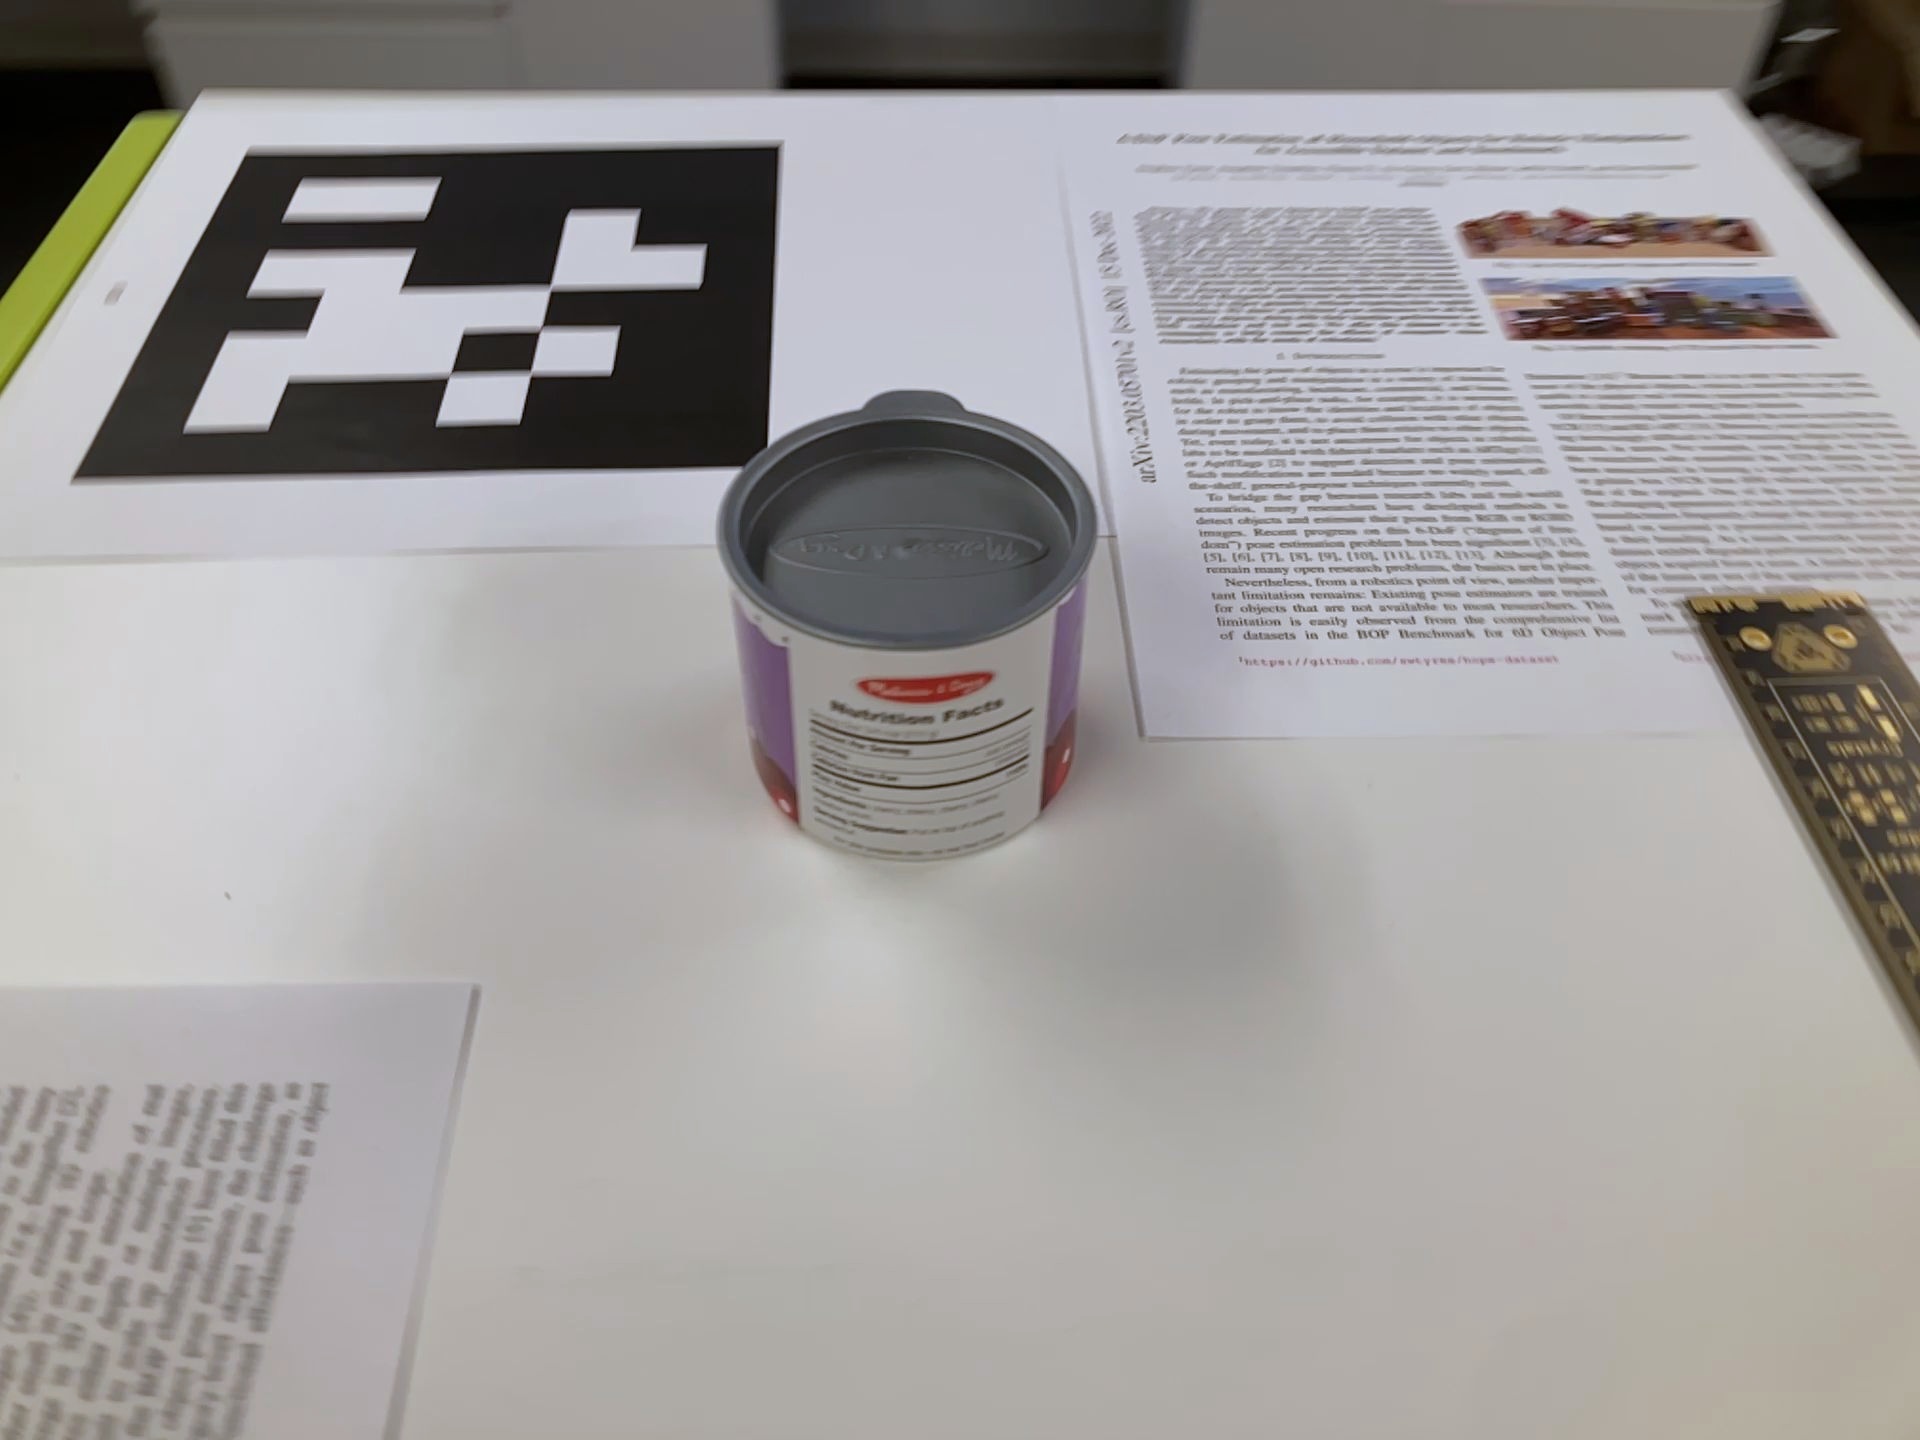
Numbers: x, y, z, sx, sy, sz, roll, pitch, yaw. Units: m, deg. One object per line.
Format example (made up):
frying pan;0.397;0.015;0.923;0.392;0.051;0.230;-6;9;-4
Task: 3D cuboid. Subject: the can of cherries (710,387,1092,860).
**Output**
can of cherries;-0.010;-0.019;0.298;0.071;0.058;0.071;0;46;0
